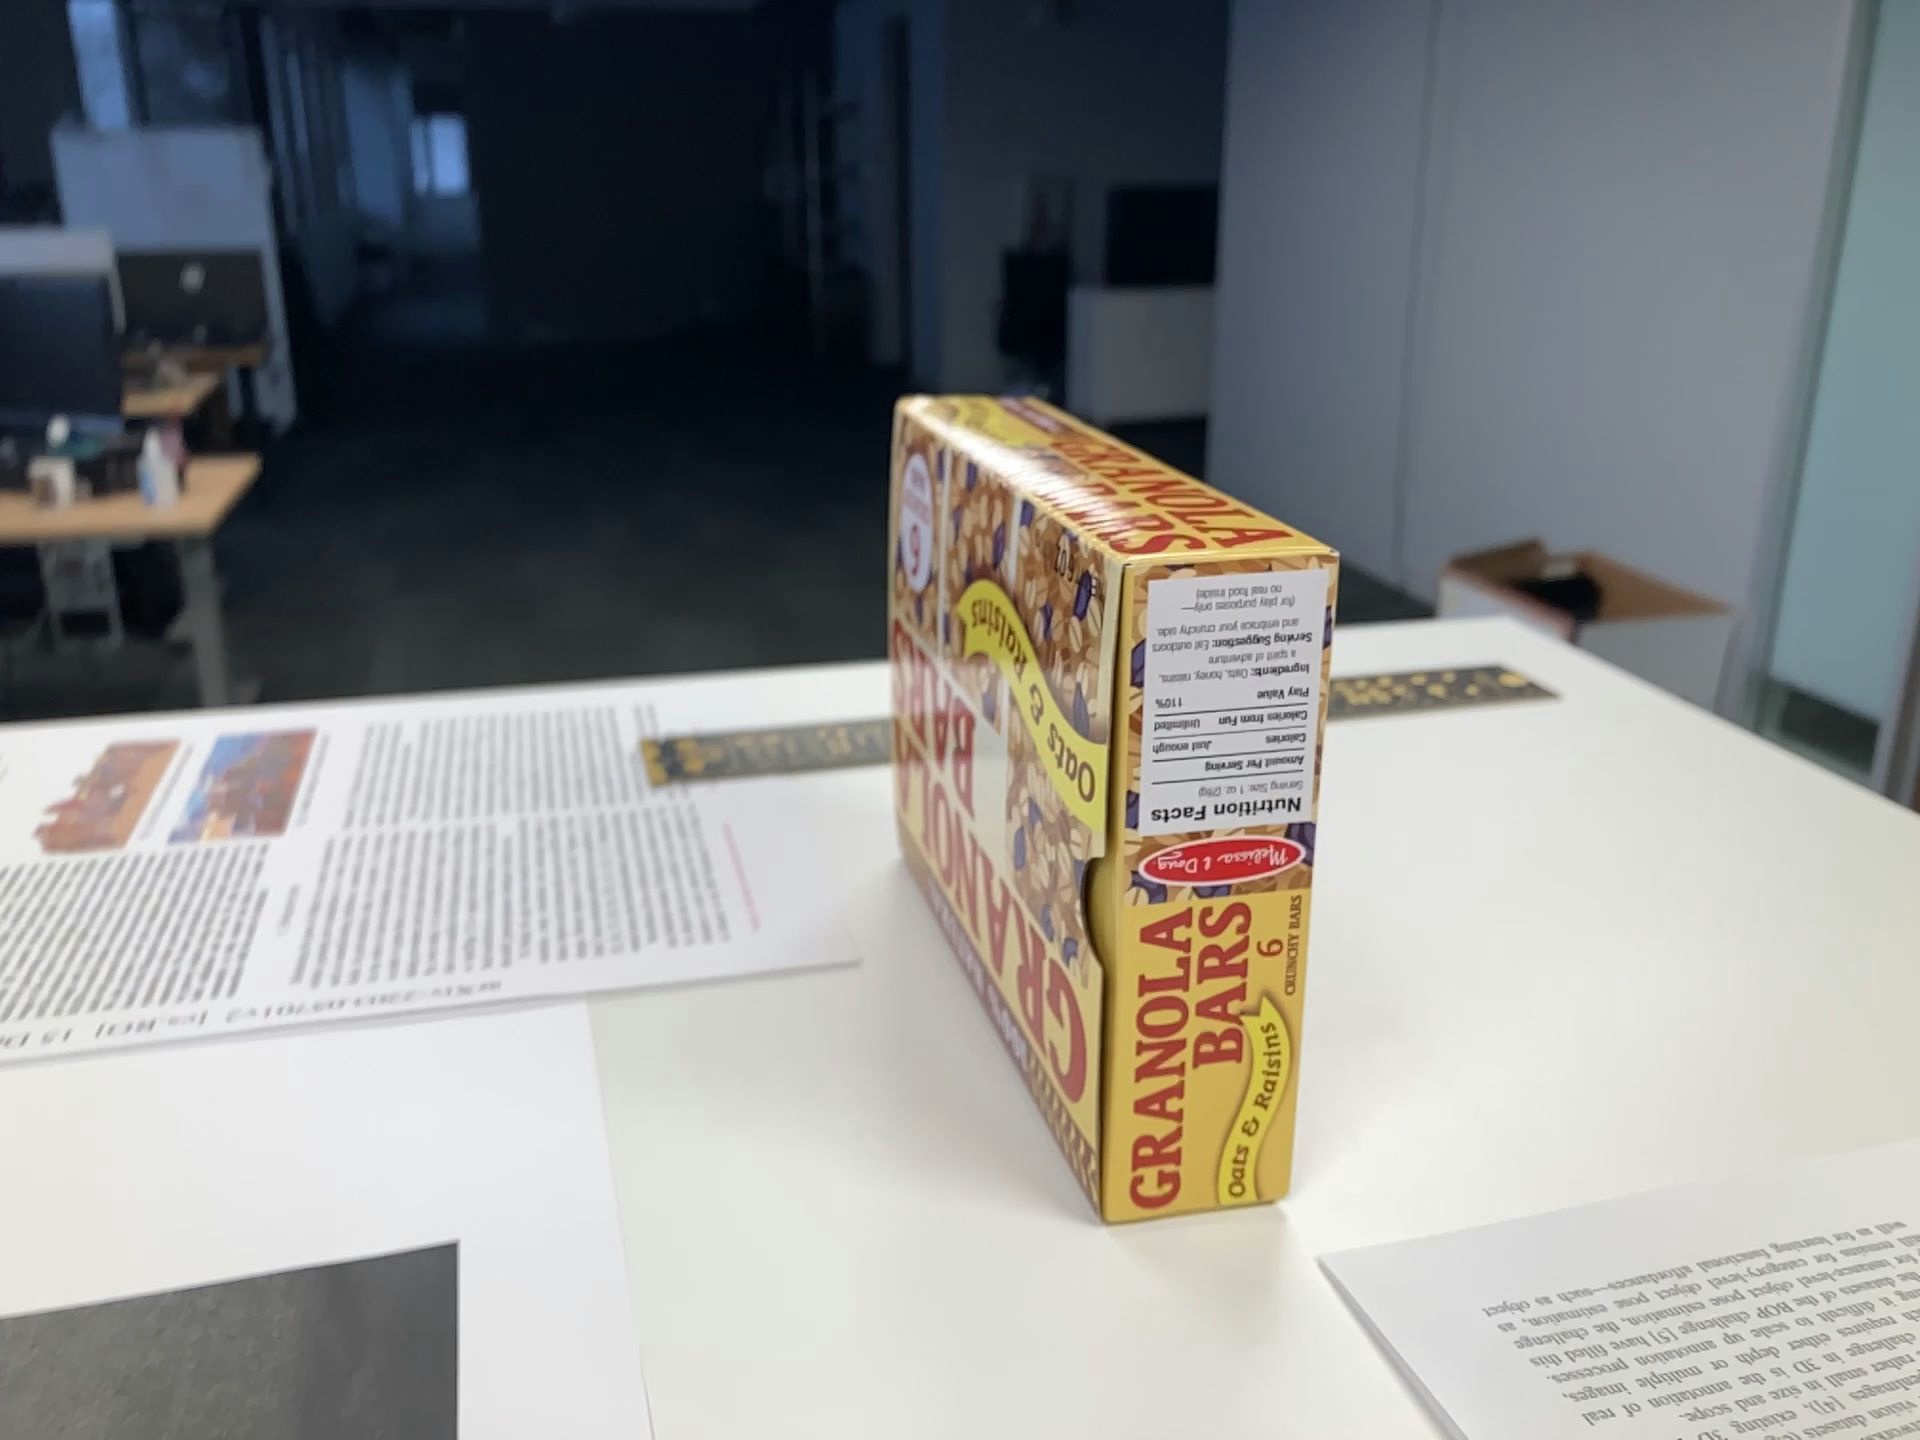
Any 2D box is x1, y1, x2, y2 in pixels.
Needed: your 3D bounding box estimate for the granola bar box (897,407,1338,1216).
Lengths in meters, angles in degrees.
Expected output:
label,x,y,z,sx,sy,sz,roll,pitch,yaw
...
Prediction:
label,x,y,z,sx,sy,sz,roll,pitch,yaw
granola bar box,0.022,0.005,0.347,0.039,0.124,0.165,-5,20,-14
